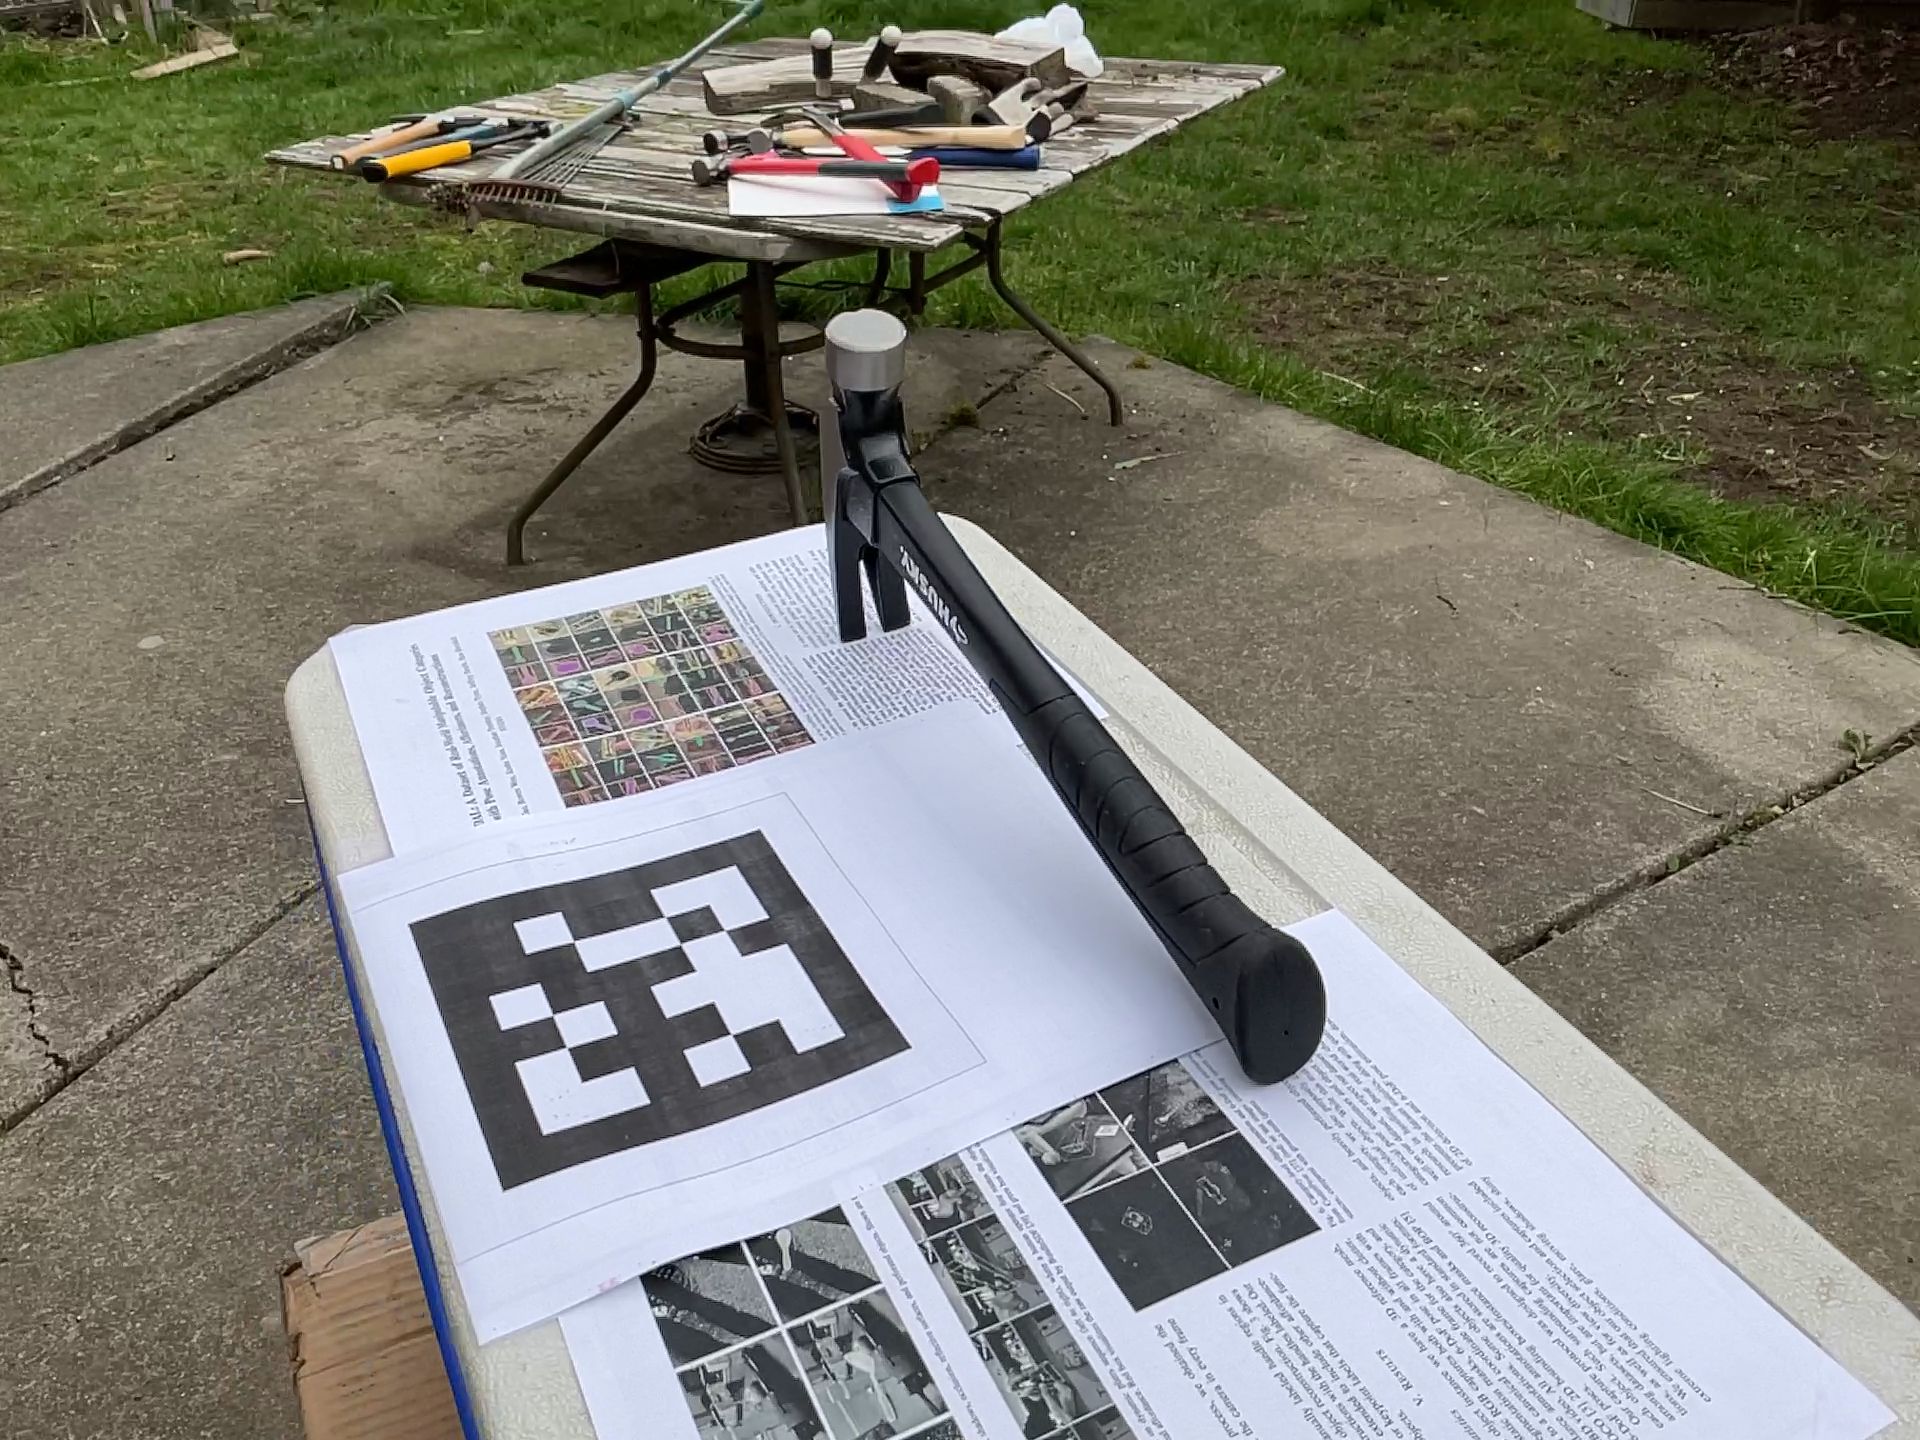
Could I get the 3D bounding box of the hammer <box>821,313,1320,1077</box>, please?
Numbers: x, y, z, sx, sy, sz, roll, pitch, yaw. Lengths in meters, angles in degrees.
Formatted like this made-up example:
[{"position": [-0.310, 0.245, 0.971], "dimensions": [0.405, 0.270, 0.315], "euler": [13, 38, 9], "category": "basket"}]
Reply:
[{"position": [0.025, -0.007, 0.588], "dimensions": [0.035, 0.146, 0.335], "euler": [-17, 47, -20], "category": "hammer"}]
